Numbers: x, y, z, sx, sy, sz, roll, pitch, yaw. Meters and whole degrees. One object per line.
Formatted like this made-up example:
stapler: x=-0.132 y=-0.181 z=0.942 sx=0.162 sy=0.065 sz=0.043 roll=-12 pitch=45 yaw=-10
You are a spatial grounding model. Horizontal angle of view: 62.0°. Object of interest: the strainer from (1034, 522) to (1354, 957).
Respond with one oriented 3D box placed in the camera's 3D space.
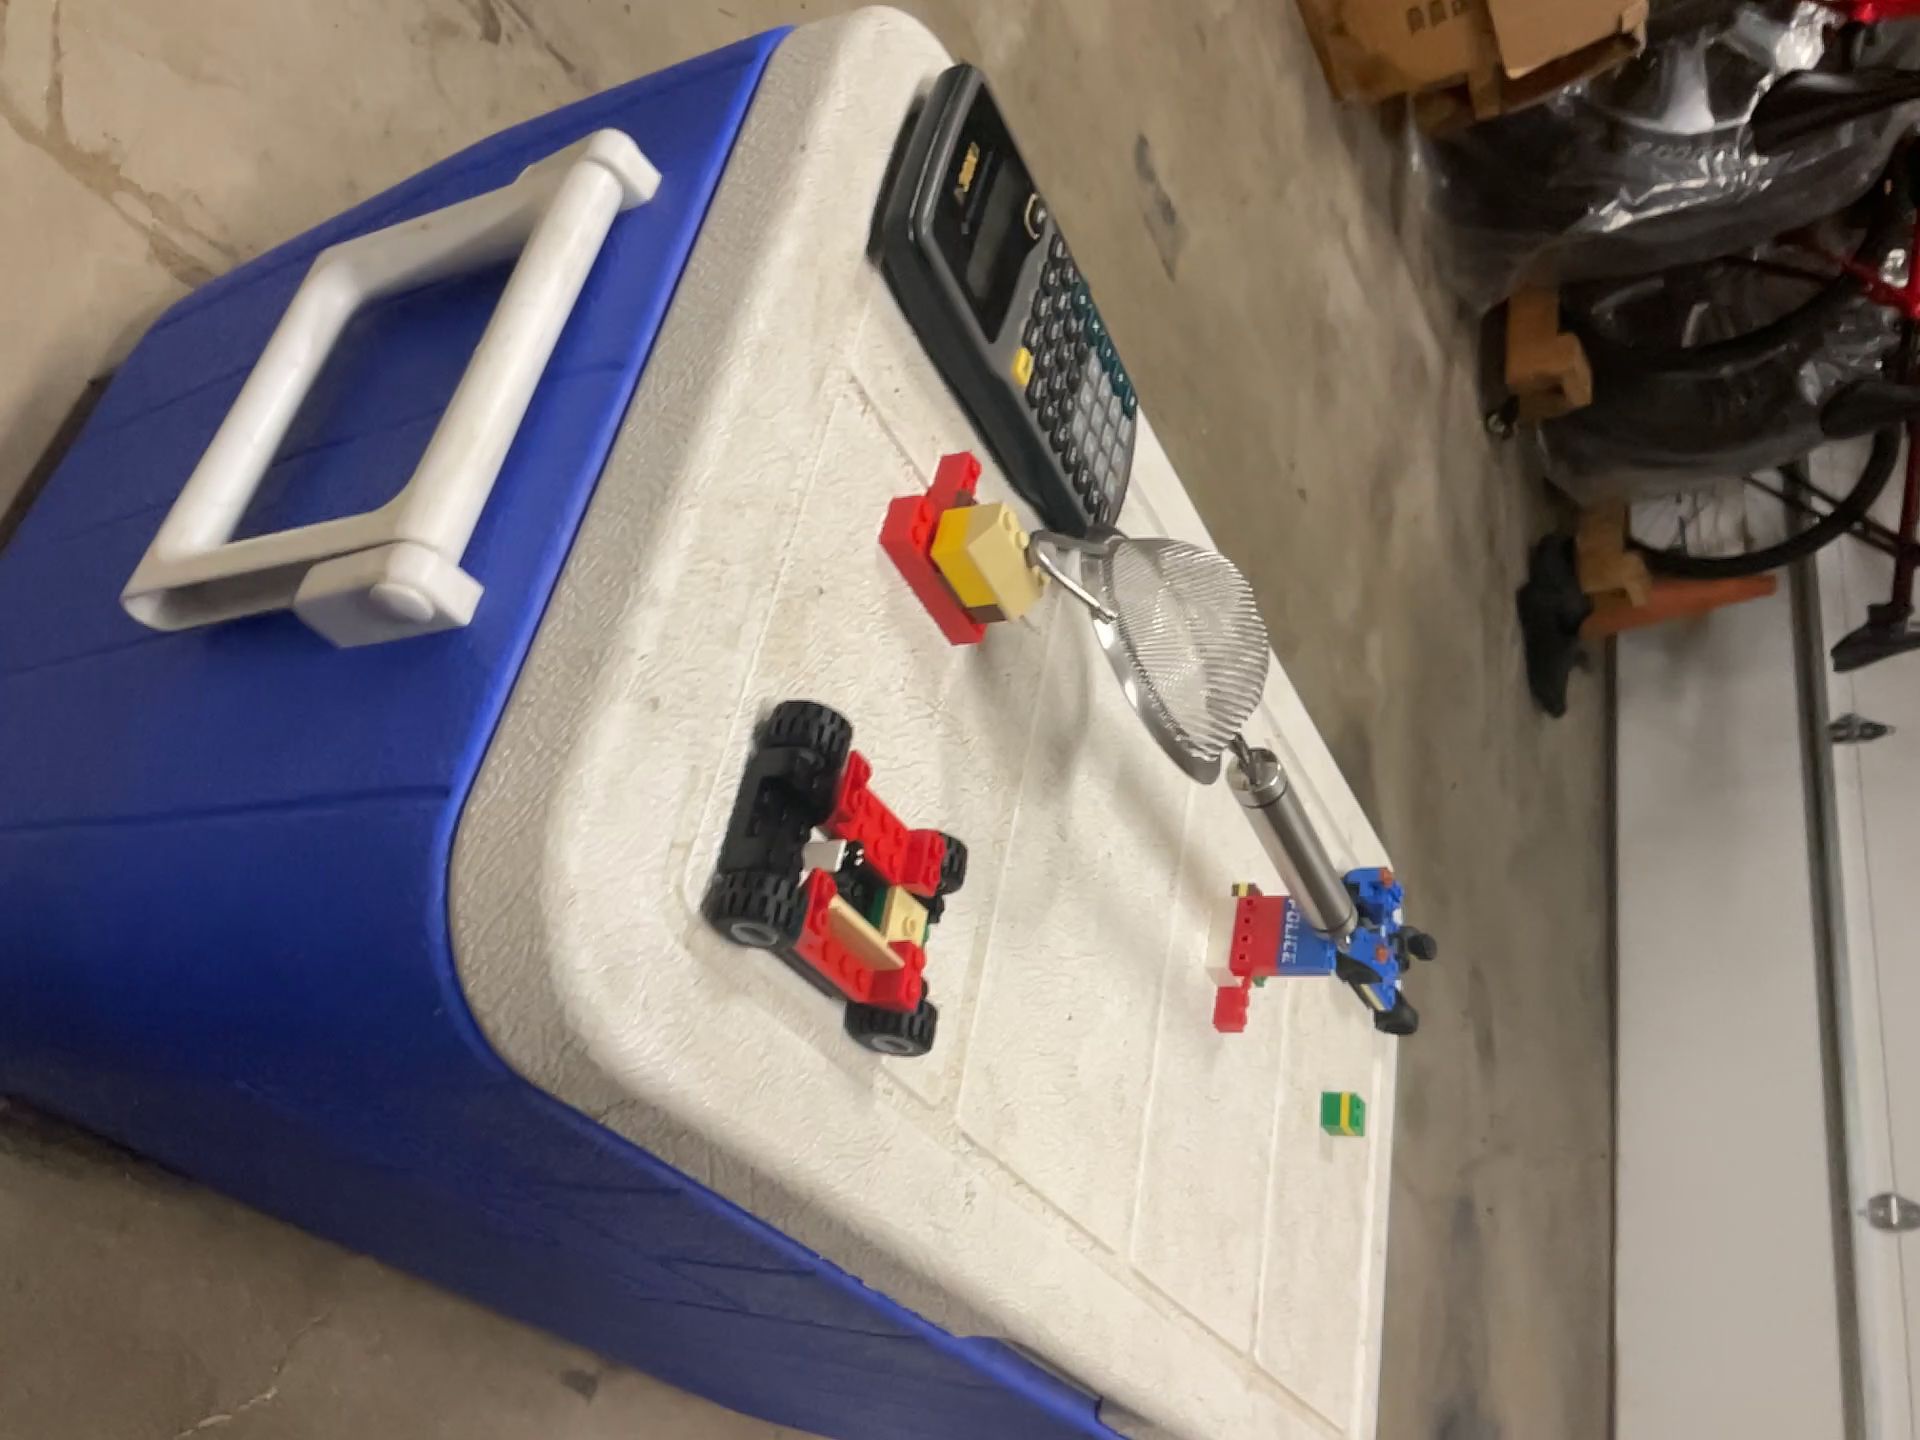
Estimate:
strainer: x=0.096 y=0.014 z=0.529 sx=0.258 sy=0.050 sz=0.087 roll=53 pitch=25 yaw=-46
